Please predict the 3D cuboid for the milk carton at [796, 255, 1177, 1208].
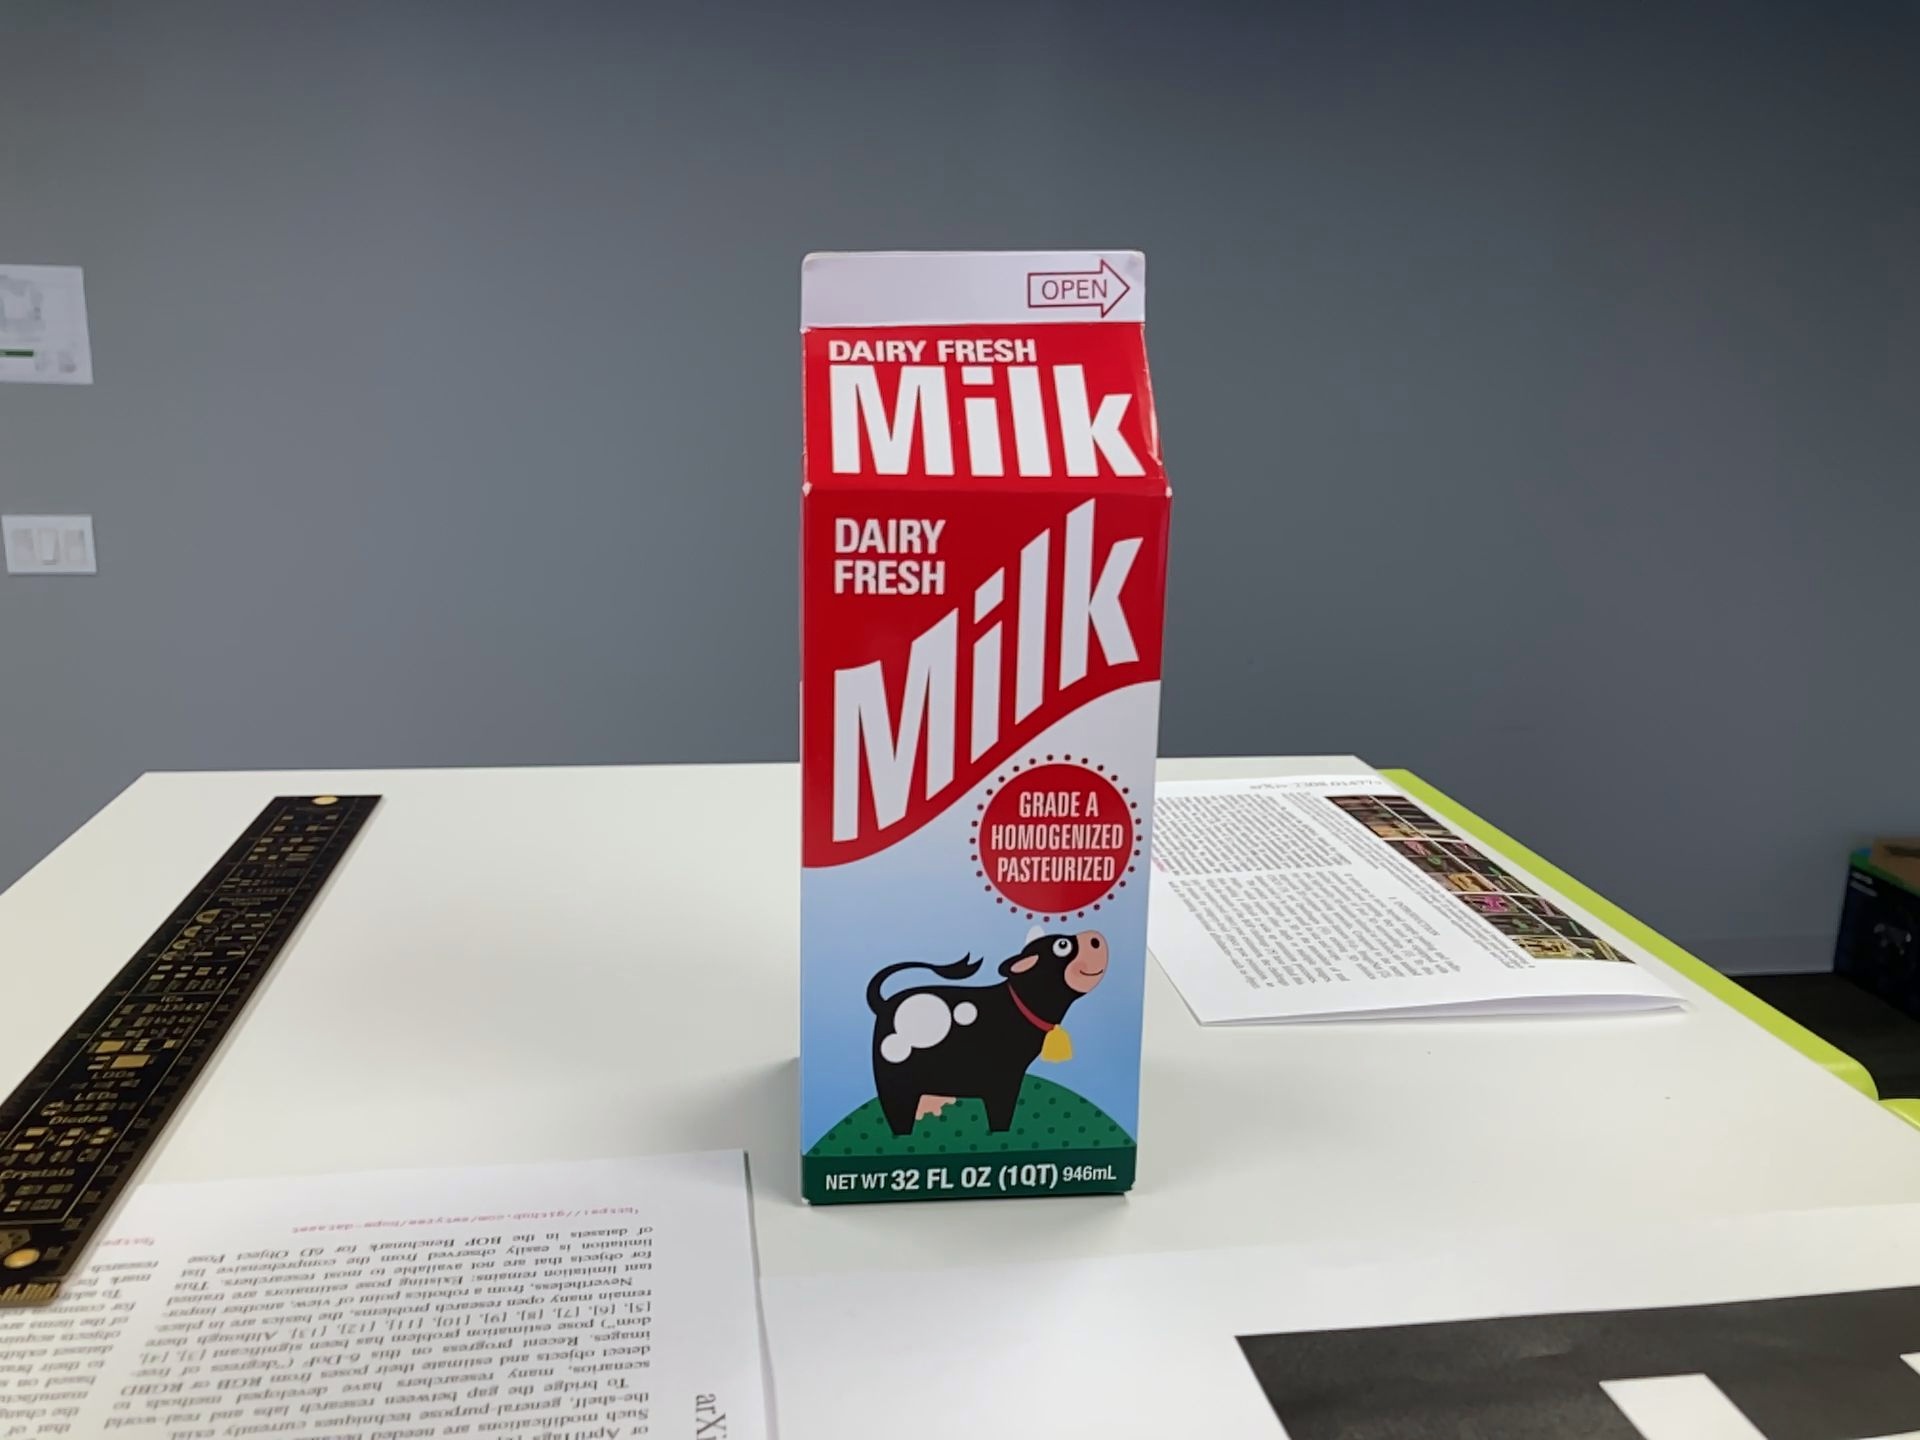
[{"bbox_3d":[0.001,0.000,0.339,0.072,0.190,0.073,0,14,-6],"label":"milk carton"}]
